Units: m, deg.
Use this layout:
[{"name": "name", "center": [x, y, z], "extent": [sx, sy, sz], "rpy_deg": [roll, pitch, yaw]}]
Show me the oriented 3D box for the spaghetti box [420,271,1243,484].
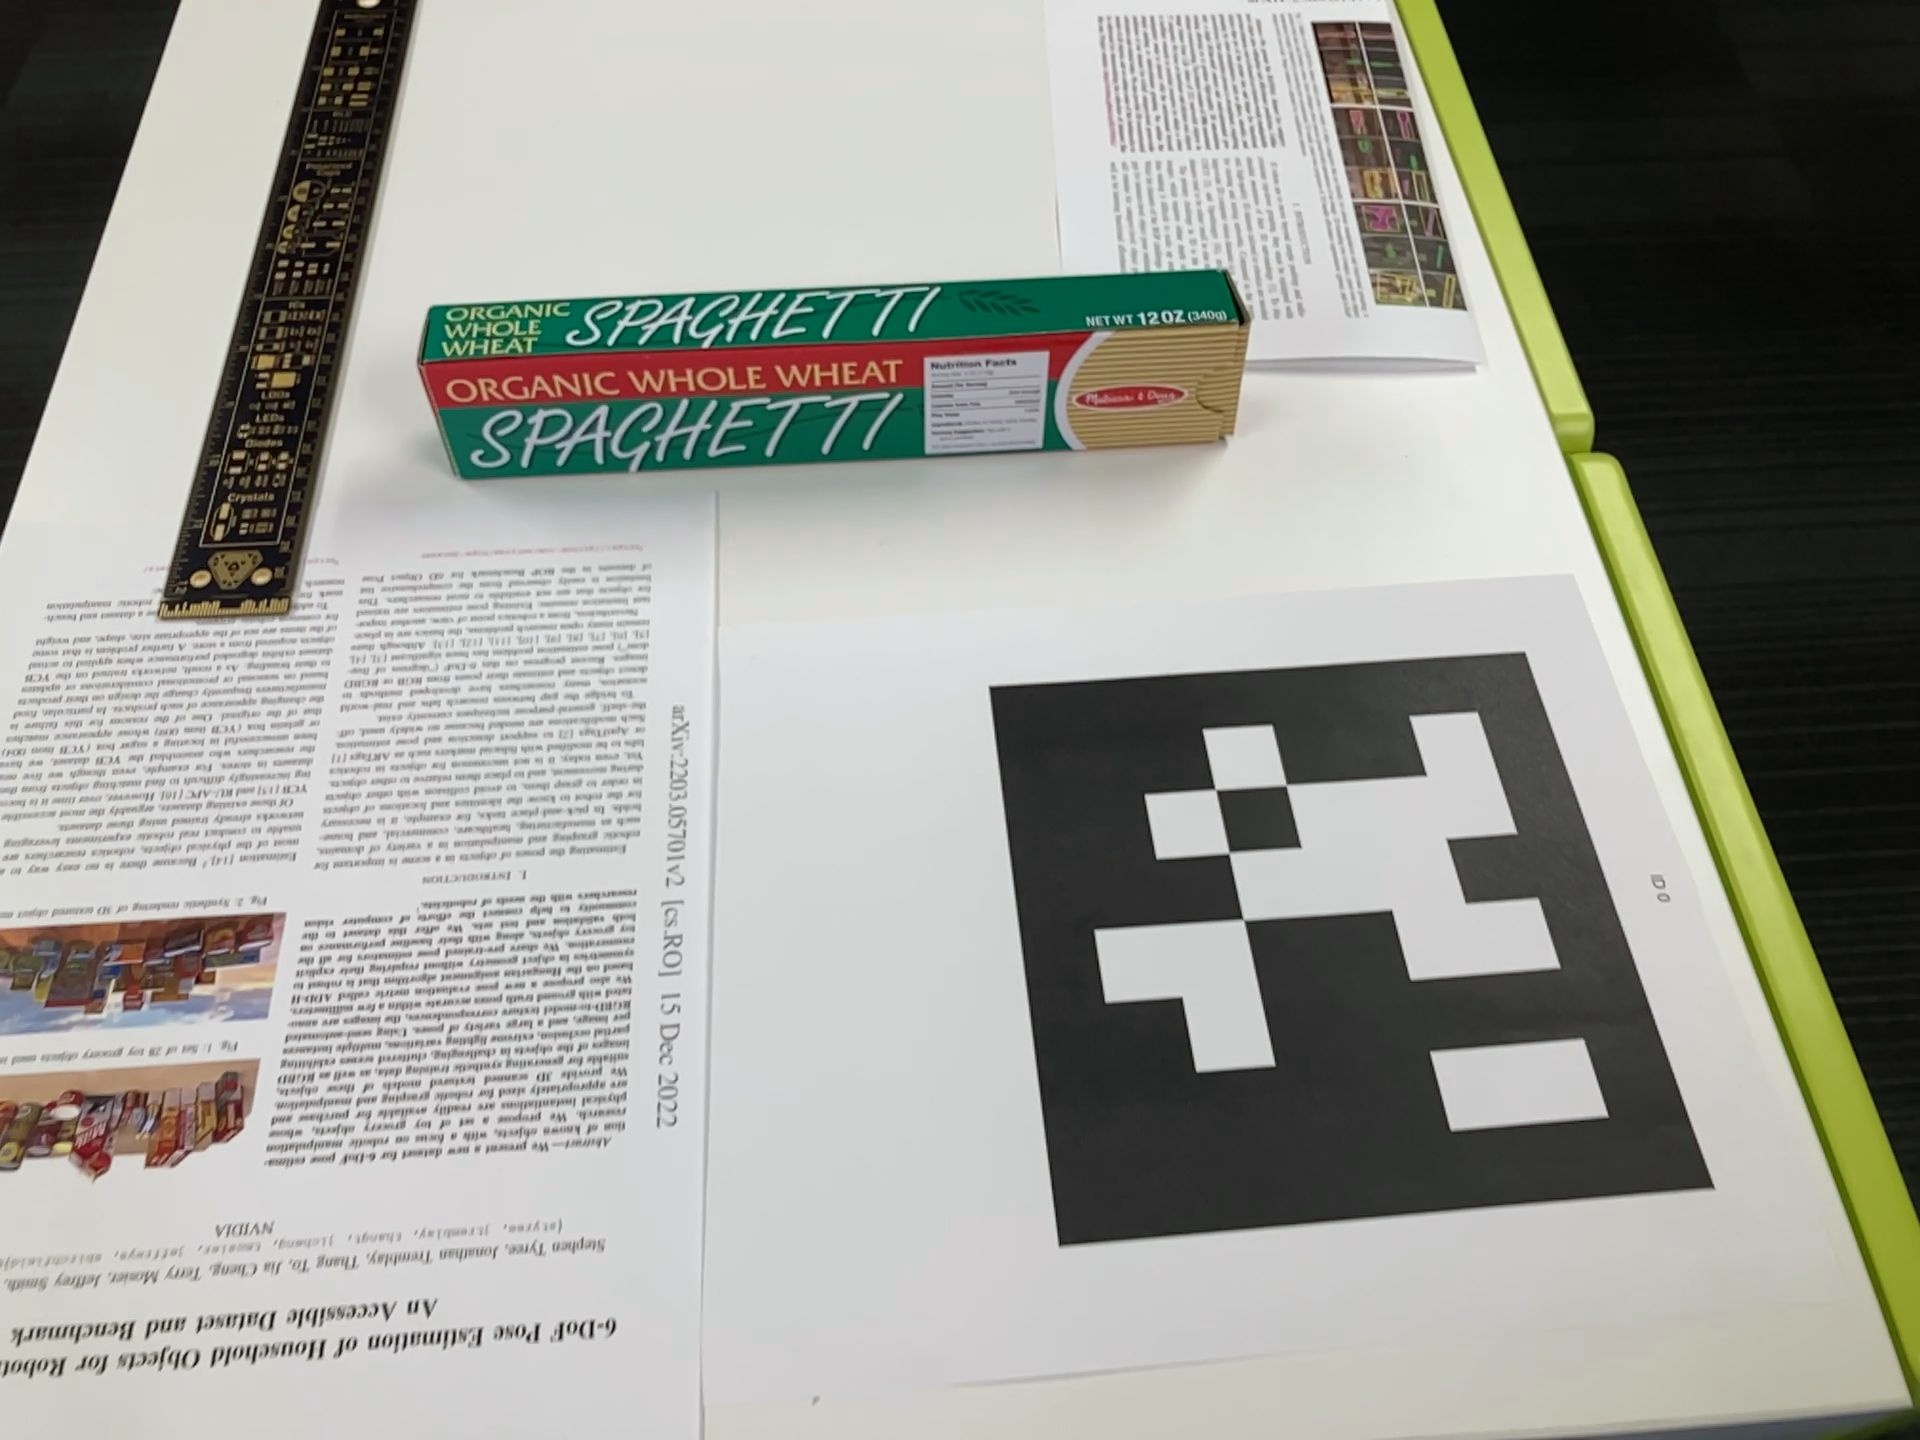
[{"name": "spaghetti box", "center": [-0.039, -0.108, 0.503], "extent": [0.250, 0.050, 0.028], "rpy_deg": [-4, 53, -3]}]
